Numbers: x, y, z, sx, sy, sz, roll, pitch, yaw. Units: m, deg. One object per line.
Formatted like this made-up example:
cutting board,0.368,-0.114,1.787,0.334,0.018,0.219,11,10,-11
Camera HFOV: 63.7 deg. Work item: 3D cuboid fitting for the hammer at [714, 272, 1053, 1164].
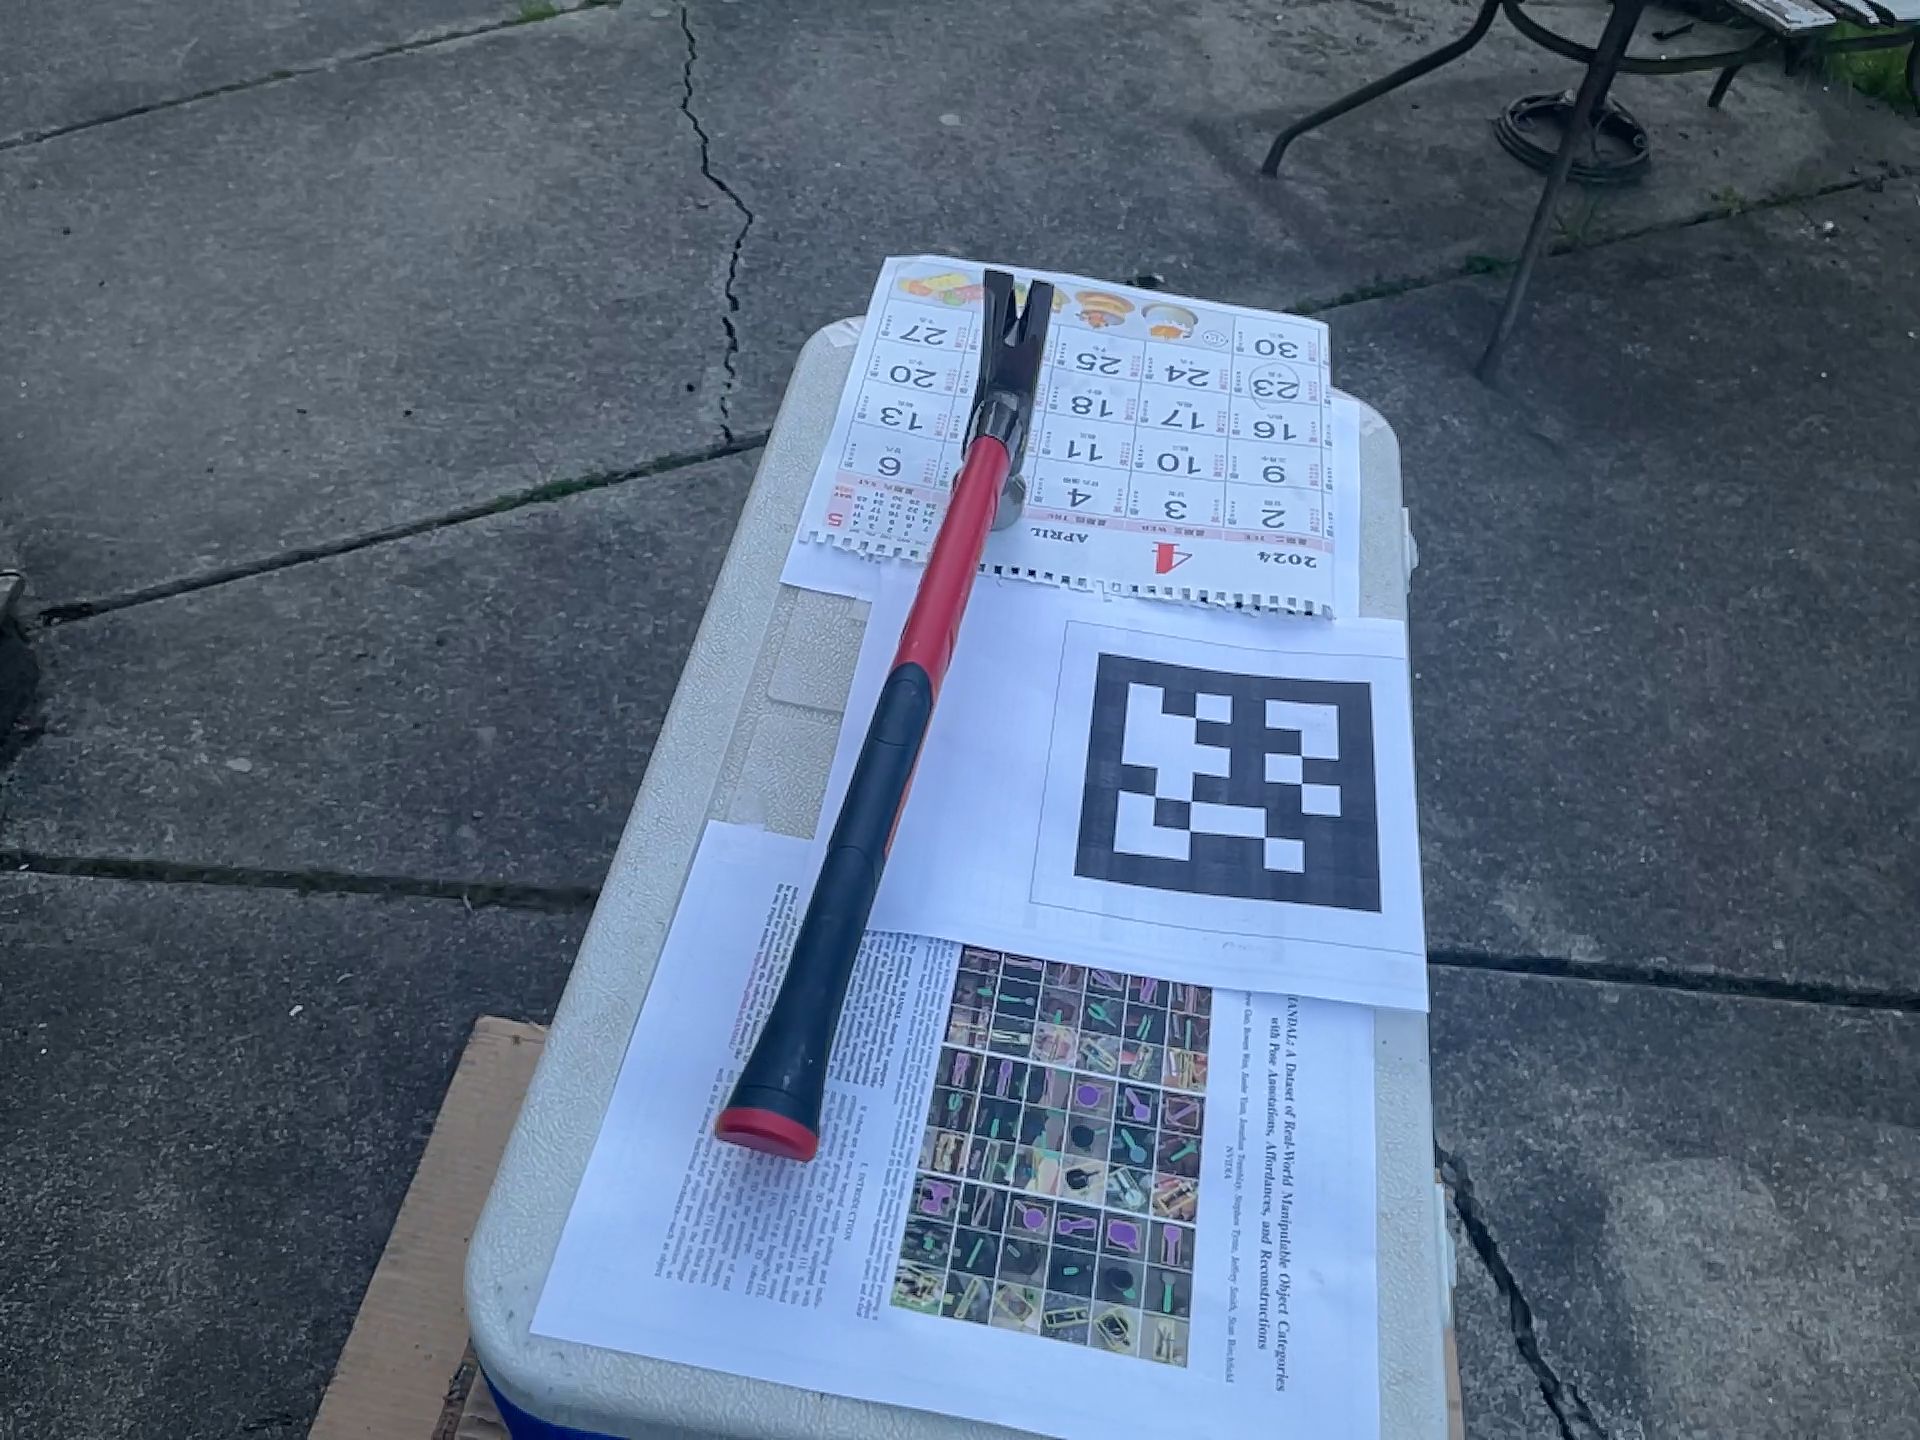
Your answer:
hammer,-0.021,-0.013,0.625,0.038,0.143,0.387,13,54,4
